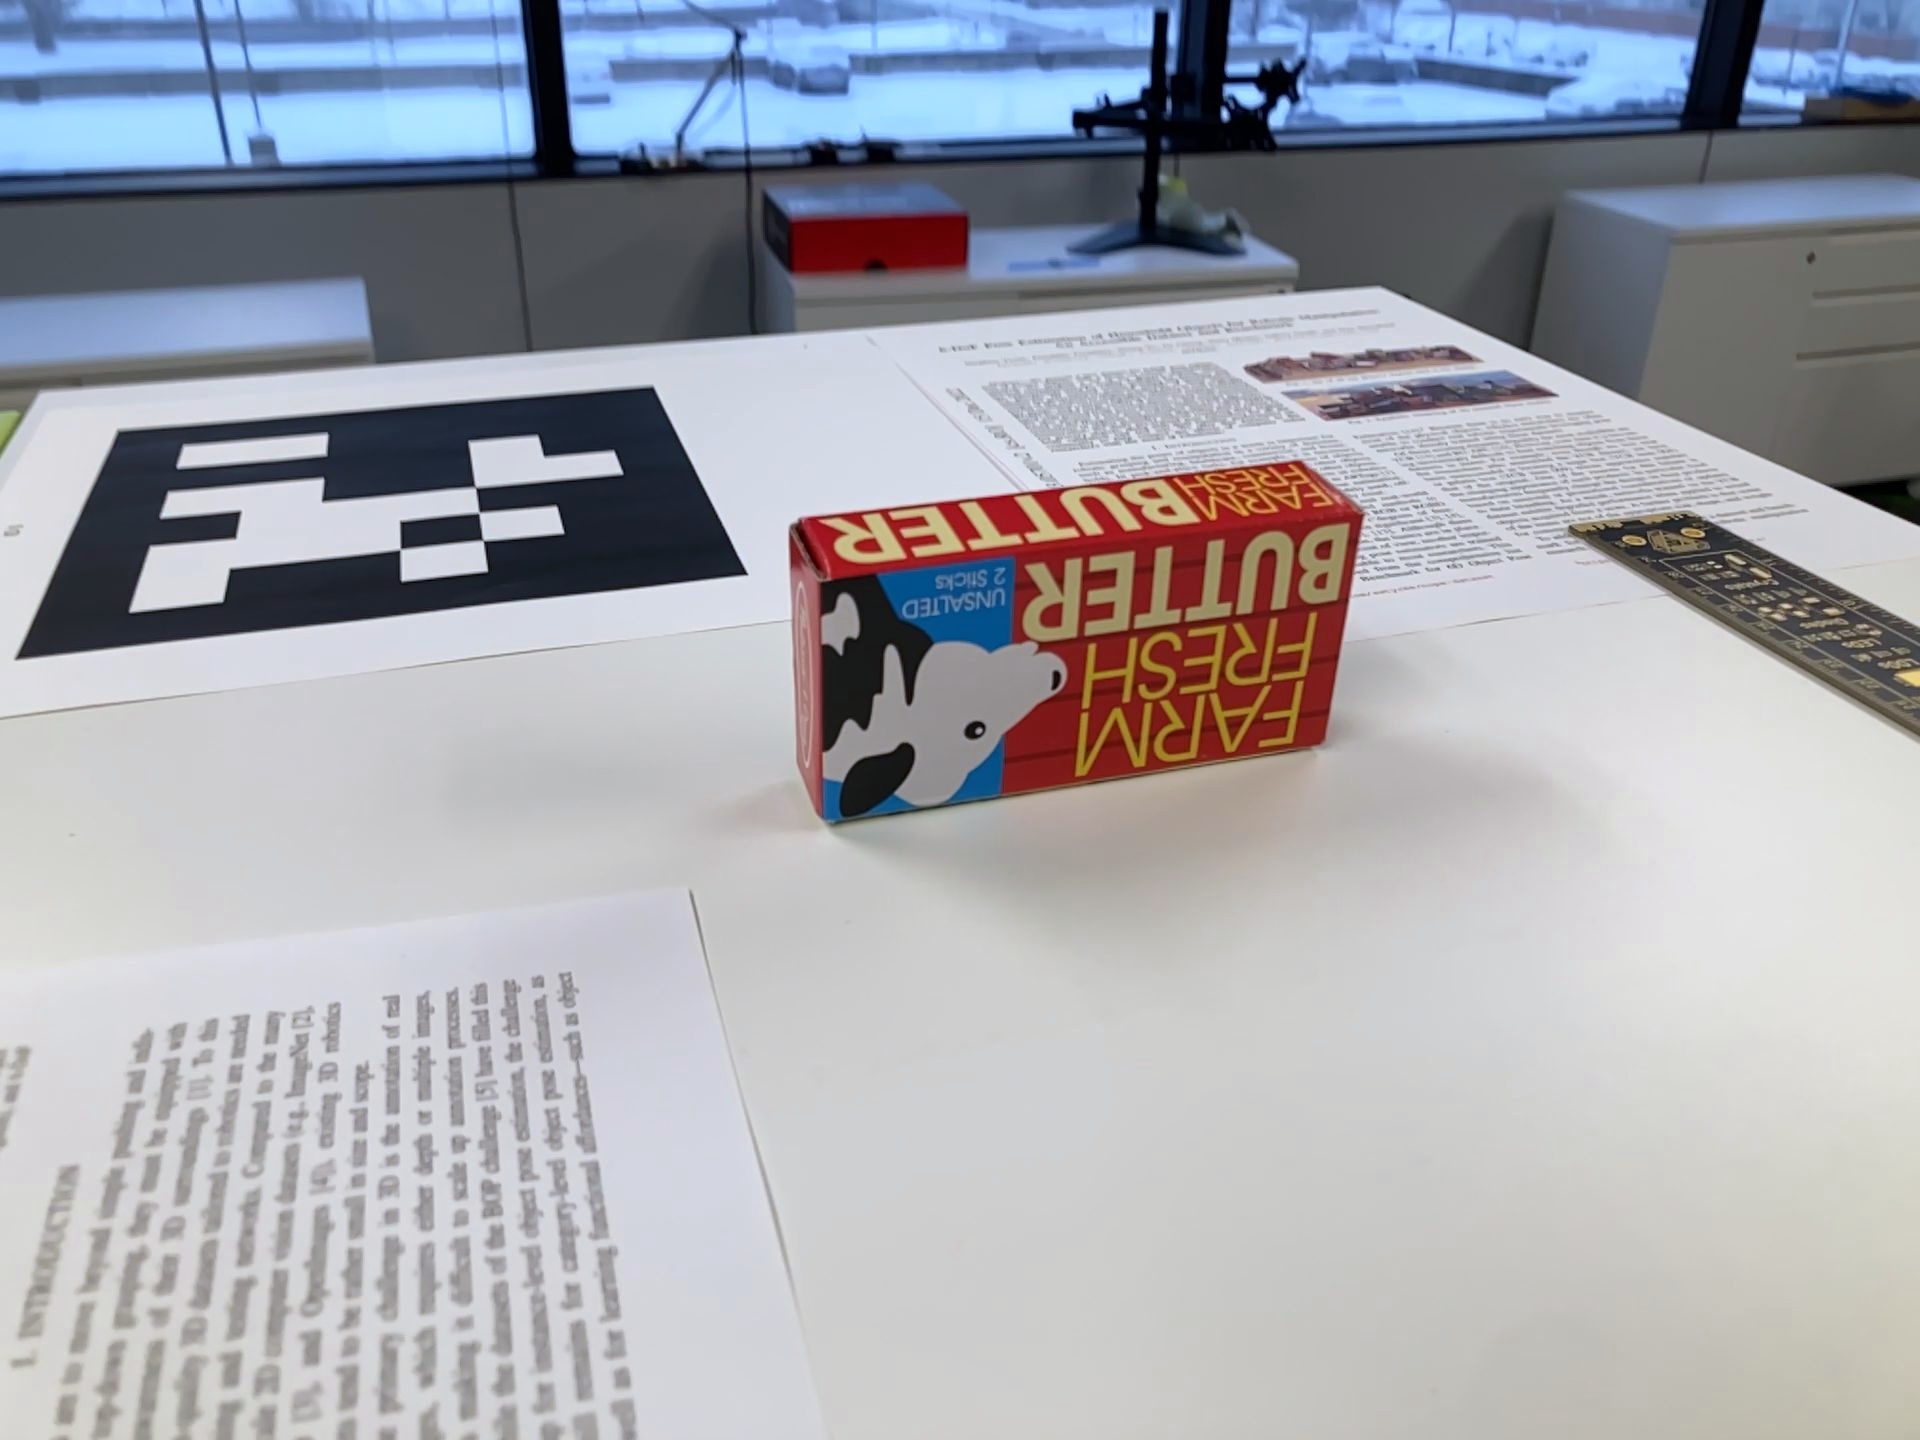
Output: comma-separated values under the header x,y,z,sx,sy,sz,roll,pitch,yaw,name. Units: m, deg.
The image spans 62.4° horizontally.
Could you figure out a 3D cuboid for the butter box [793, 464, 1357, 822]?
x,y,z,sx,sy,sz,roll,pitch,yaw,name
0.021,-0.015,0.299,0.103,0.053,0.024,-9,35,-16,butter box
